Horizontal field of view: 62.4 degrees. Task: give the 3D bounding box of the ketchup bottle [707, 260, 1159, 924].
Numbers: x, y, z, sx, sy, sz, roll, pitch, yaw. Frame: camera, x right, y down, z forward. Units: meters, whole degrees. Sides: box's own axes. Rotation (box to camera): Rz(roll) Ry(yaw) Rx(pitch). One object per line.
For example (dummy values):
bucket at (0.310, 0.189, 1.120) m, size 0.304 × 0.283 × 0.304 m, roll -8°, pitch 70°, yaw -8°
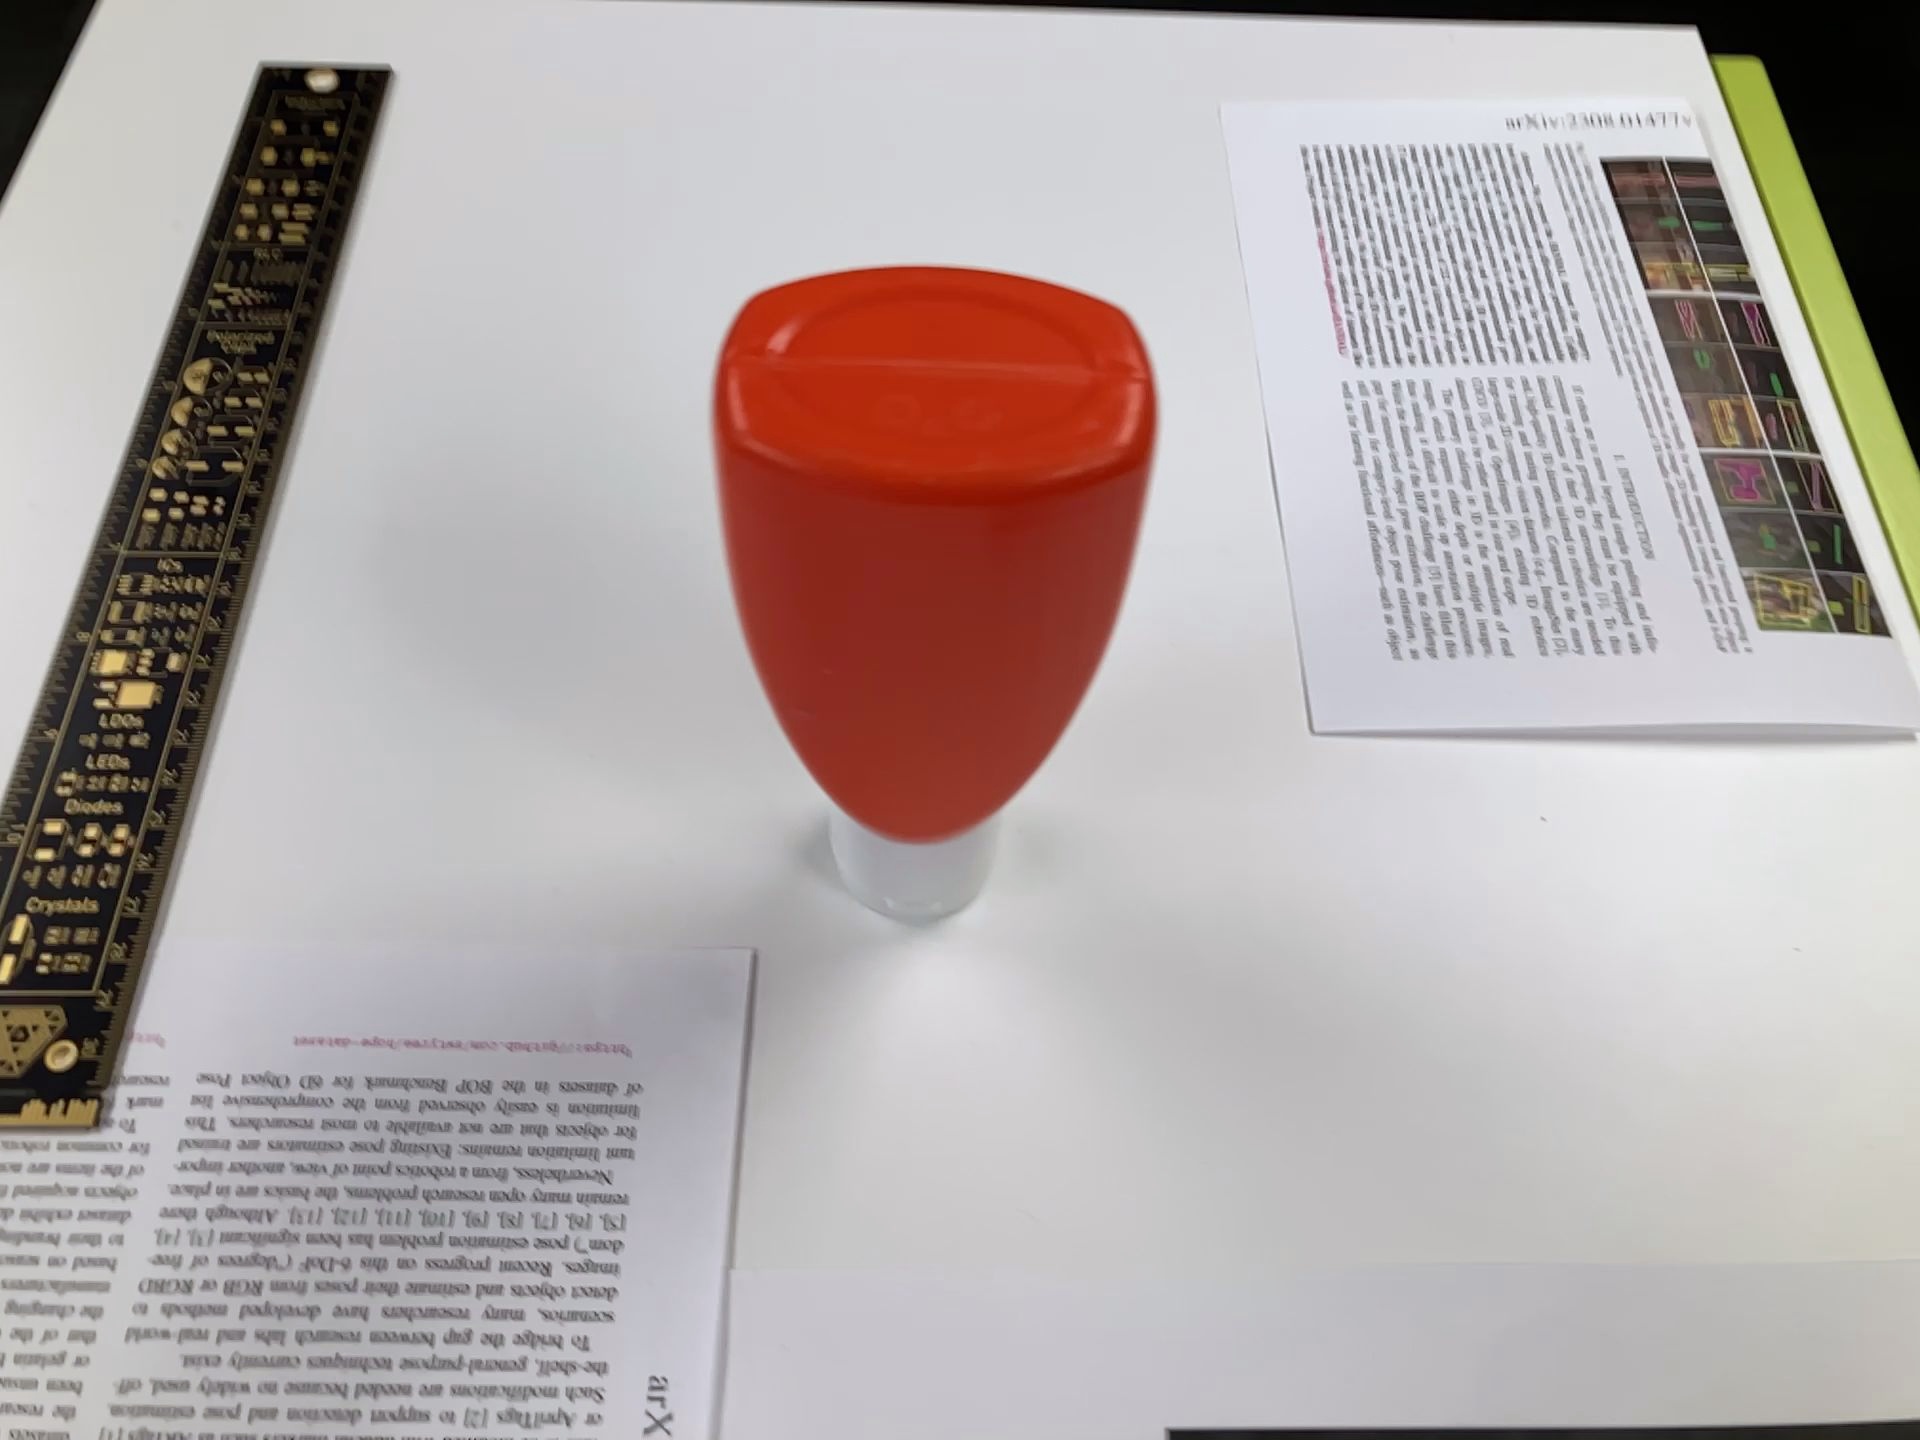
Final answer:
ketchup bottle at (-0.007, -0.010, 0.278) m, size 0.065 × 0.149 × 0.043 m, roll 2°, pitch 58°, yaw -2°
